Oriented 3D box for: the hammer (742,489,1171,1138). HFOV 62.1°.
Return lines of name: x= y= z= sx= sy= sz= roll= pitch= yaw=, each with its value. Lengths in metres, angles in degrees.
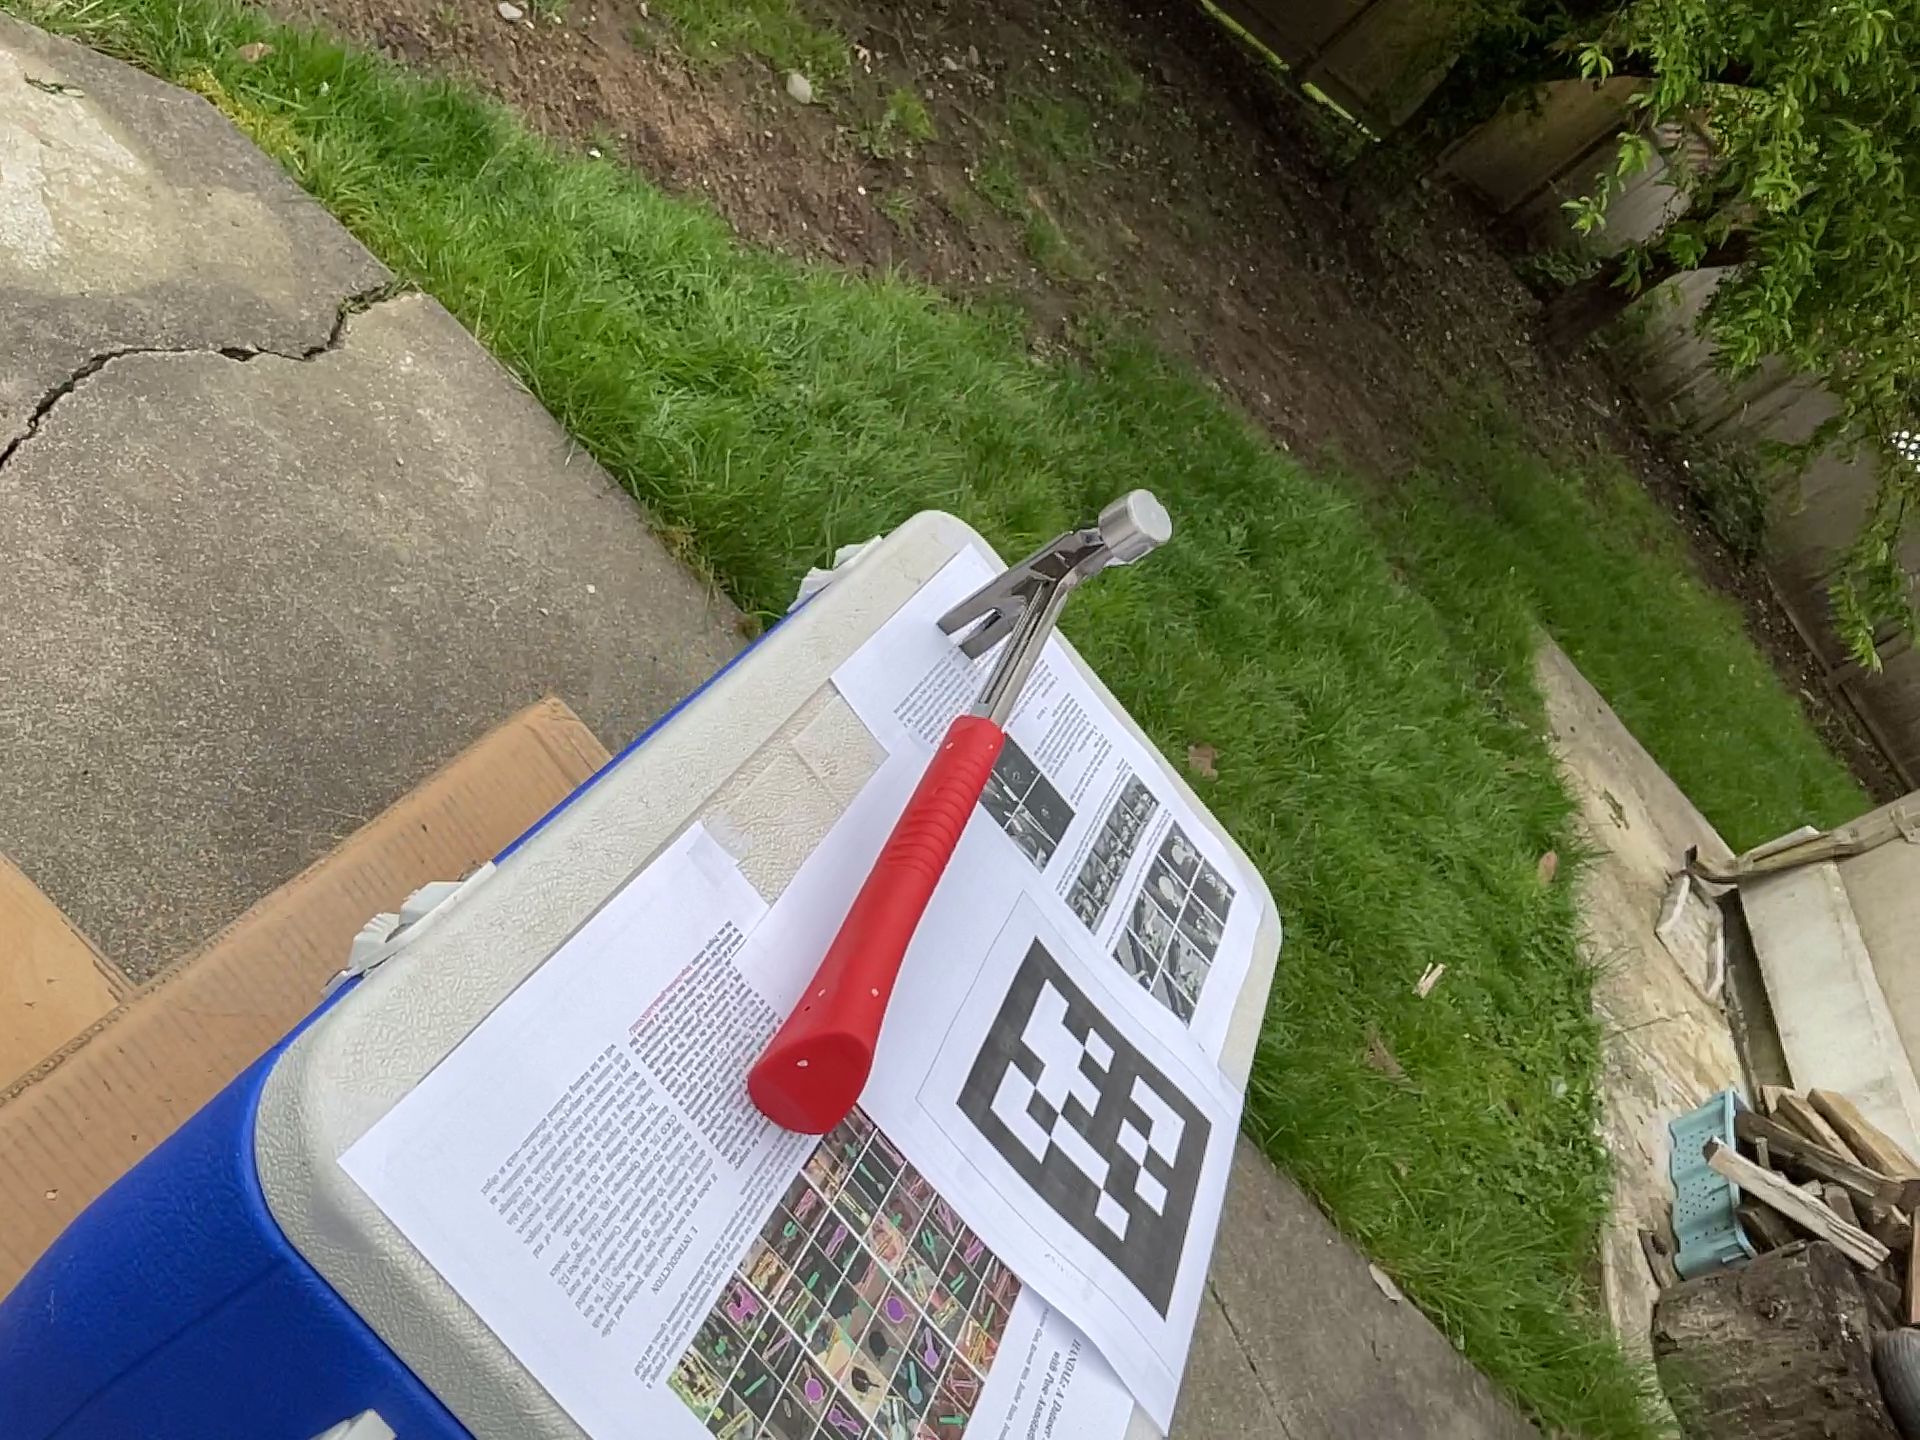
hammer: x=-0.010 y=0.029 z=0.692 sx=0.036 sy=0.149 sz=0.359 roll=45 pitch=41 yaw=-16
